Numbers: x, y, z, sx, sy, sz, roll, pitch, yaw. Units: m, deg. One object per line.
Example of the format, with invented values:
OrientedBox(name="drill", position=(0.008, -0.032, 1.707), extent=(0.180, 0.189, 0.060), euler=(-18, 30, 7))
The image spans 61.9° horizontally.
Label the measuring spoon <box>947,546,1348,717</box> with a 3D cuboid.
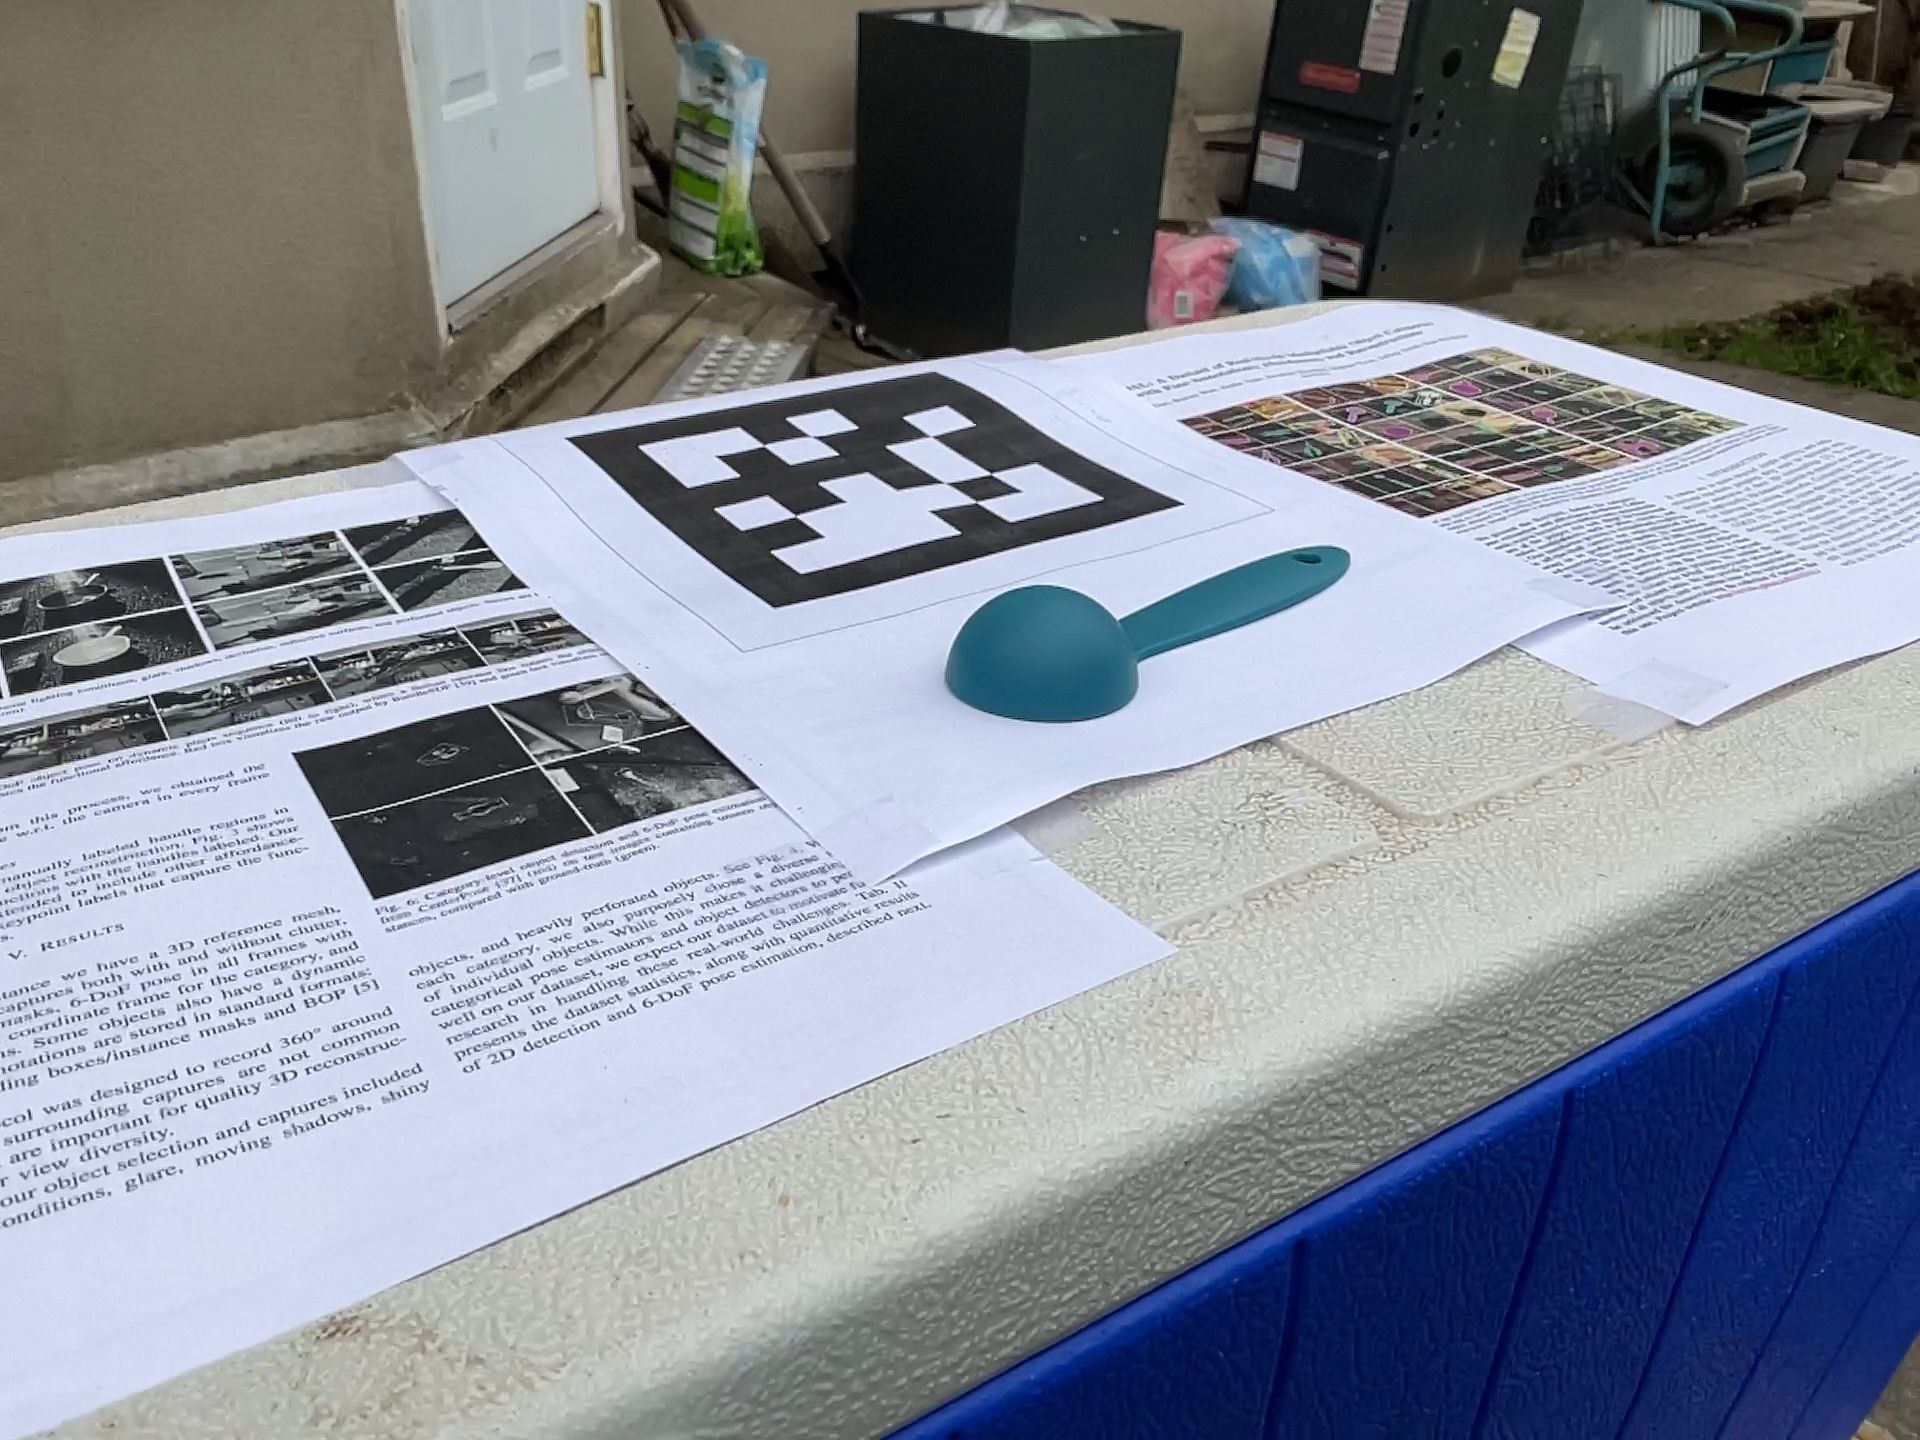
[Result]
OrientedBox(name="measuring spoon", position=(0.050, -0.031, 0.375), extent=(0.128, 0.021, 0.042), euler=(-22, 31, -37))
